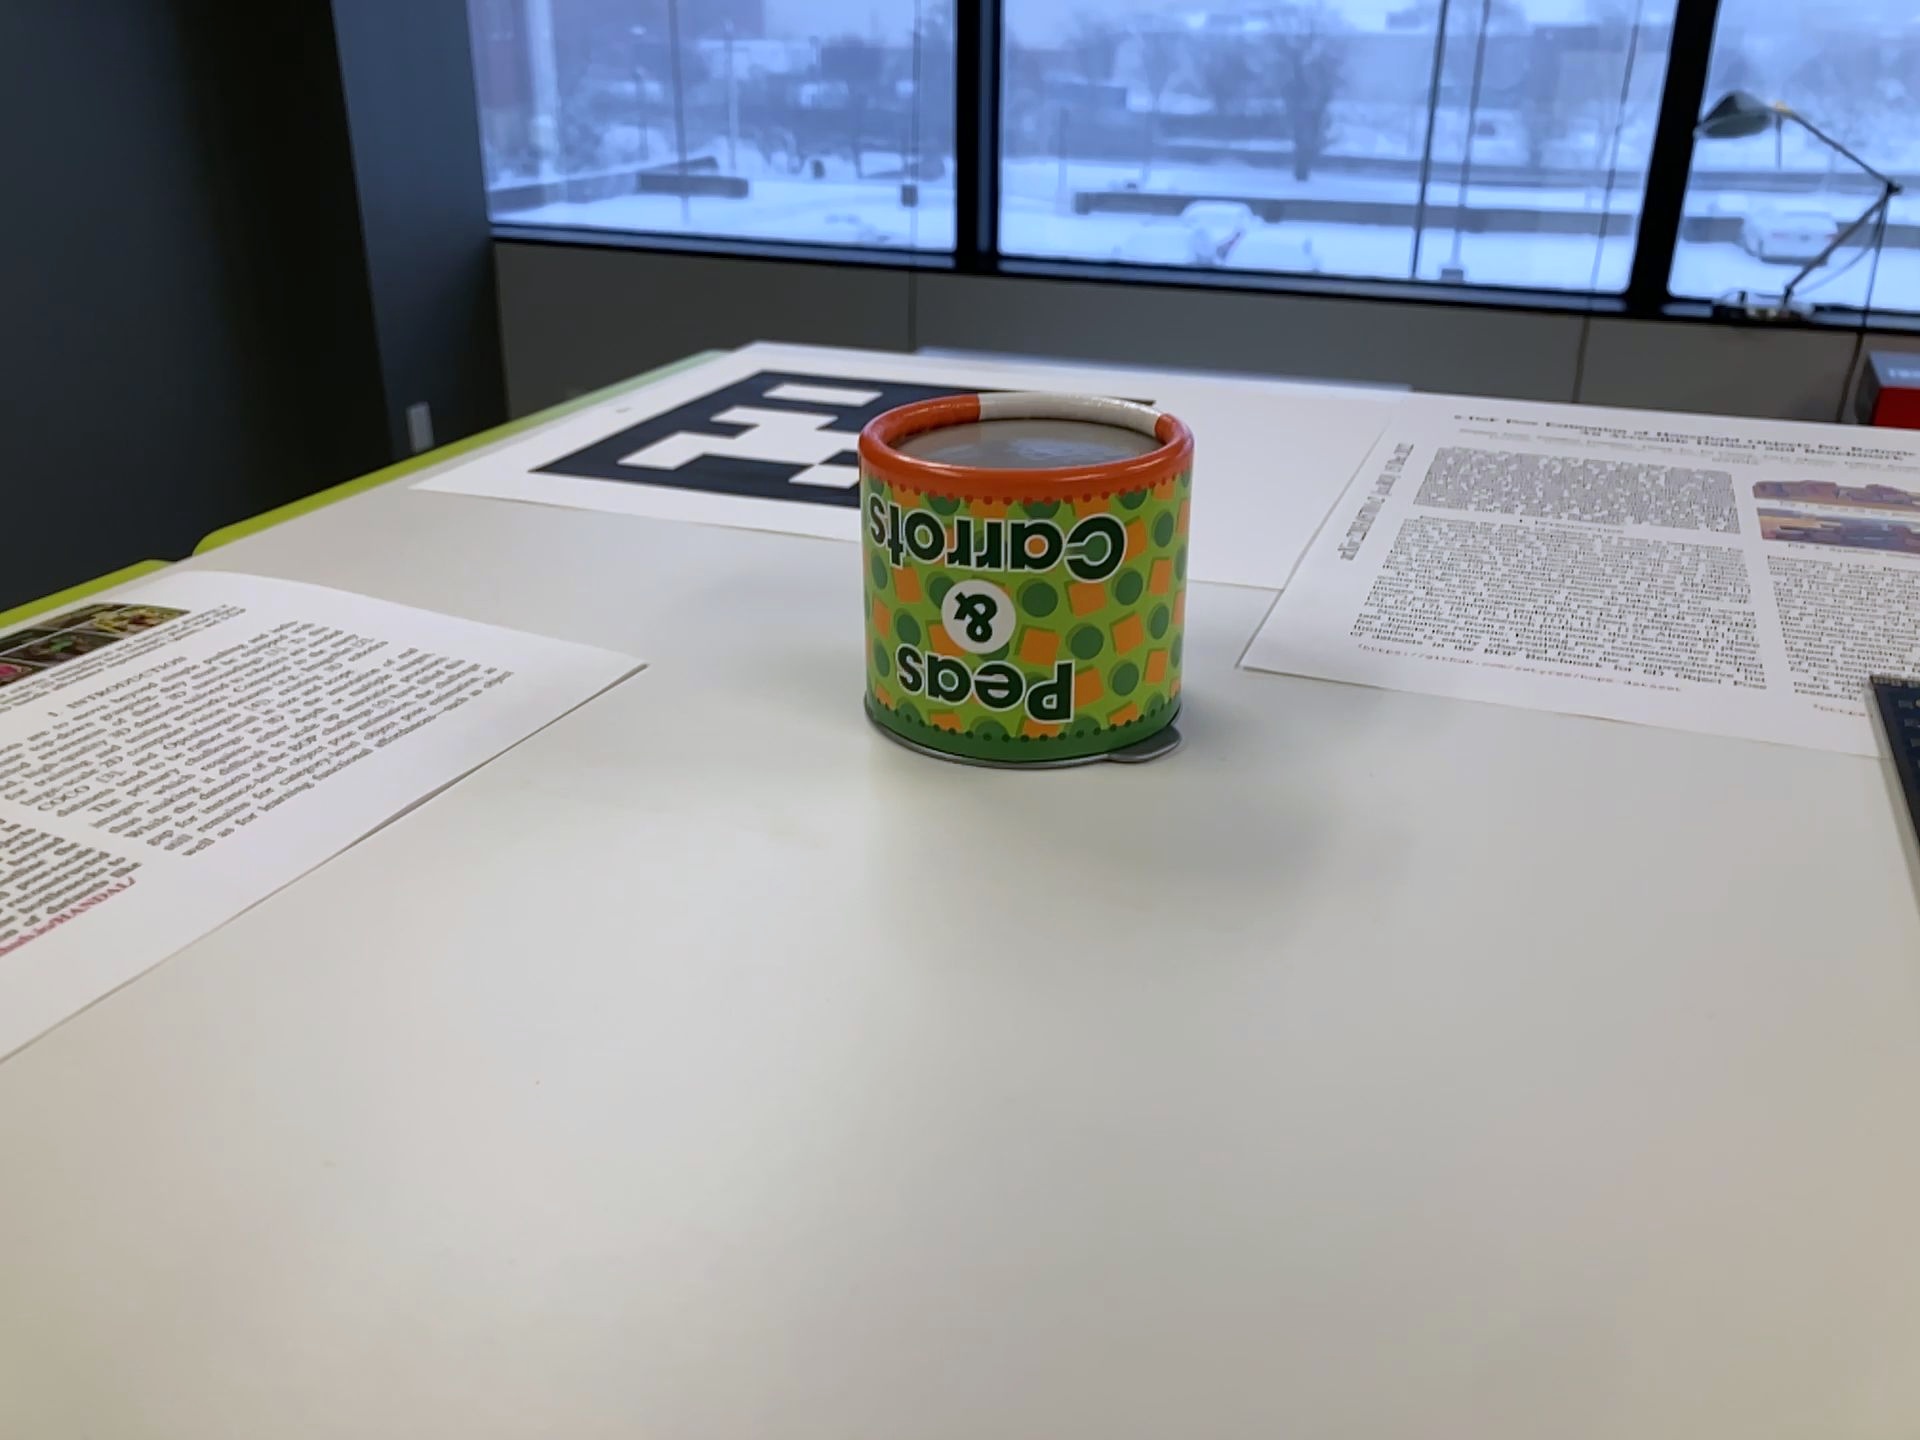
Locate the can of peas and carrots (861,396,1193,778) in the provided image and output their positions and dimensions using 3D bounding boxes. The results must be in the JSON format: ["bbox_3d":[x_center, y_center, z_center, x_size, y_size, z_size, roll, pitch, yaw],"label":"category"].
[{"bbox_3d":[0.013,-0.030,0.321,0.071,0.059,0.071,-1,24,0],"label":"can of peas and carrots"}]
